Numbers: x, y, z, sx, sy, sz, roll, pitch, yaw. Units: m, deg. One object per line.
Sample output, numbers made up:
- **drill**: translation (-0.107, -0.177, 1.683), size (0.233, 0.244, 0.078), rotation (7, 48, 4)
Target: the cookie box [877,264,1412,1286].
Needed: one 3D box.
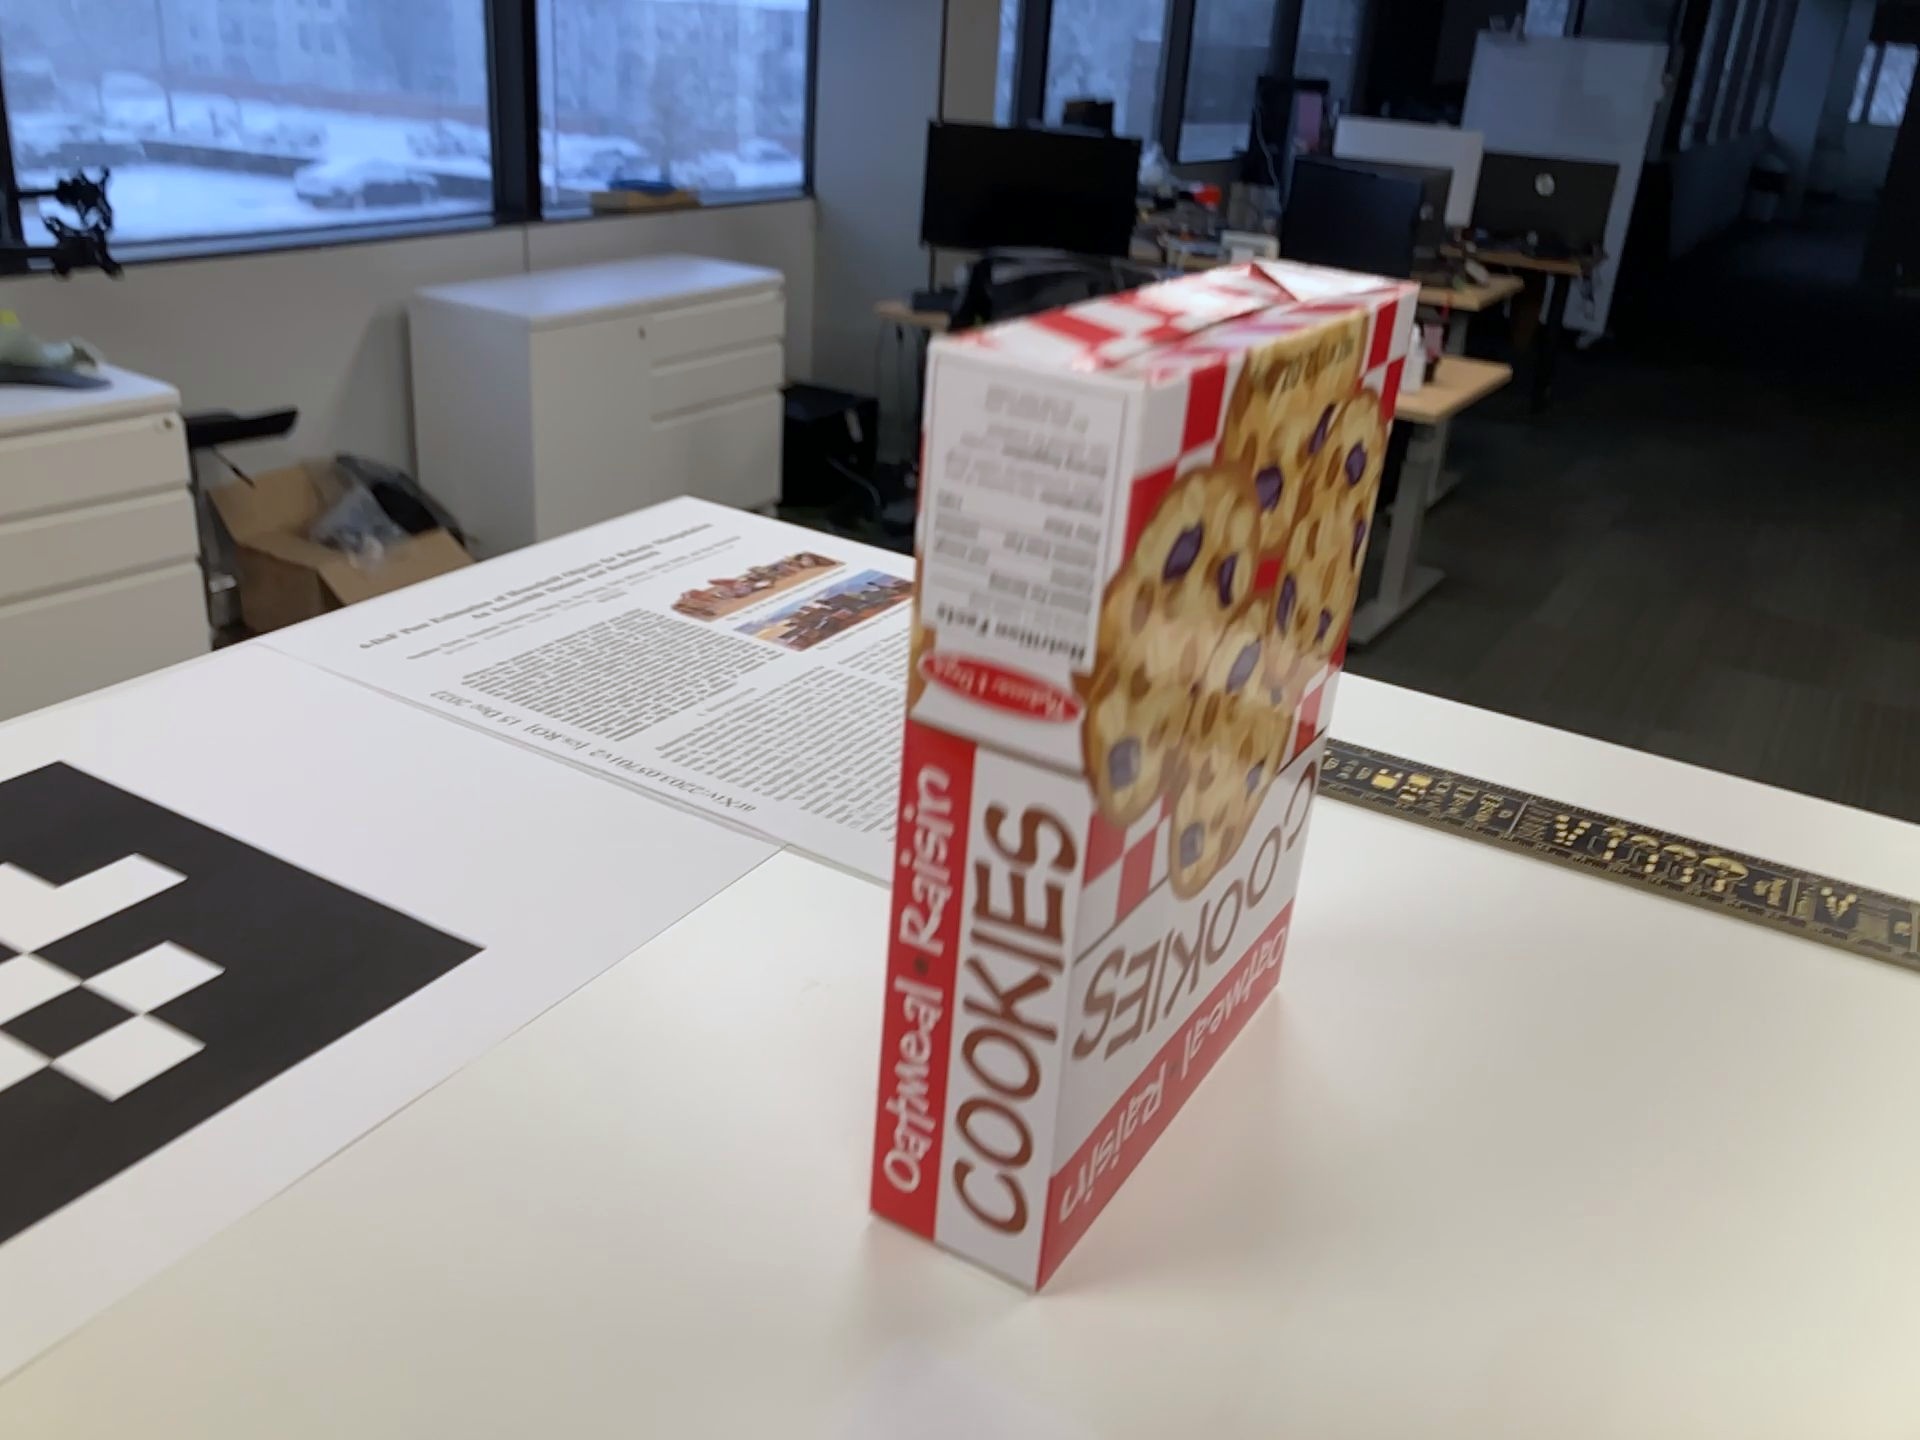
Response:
- **cookie box**: translation (0.036, 0.005, 0.310), size (0.040, 0.167, 0.123), rotation (18, 28, 27)
